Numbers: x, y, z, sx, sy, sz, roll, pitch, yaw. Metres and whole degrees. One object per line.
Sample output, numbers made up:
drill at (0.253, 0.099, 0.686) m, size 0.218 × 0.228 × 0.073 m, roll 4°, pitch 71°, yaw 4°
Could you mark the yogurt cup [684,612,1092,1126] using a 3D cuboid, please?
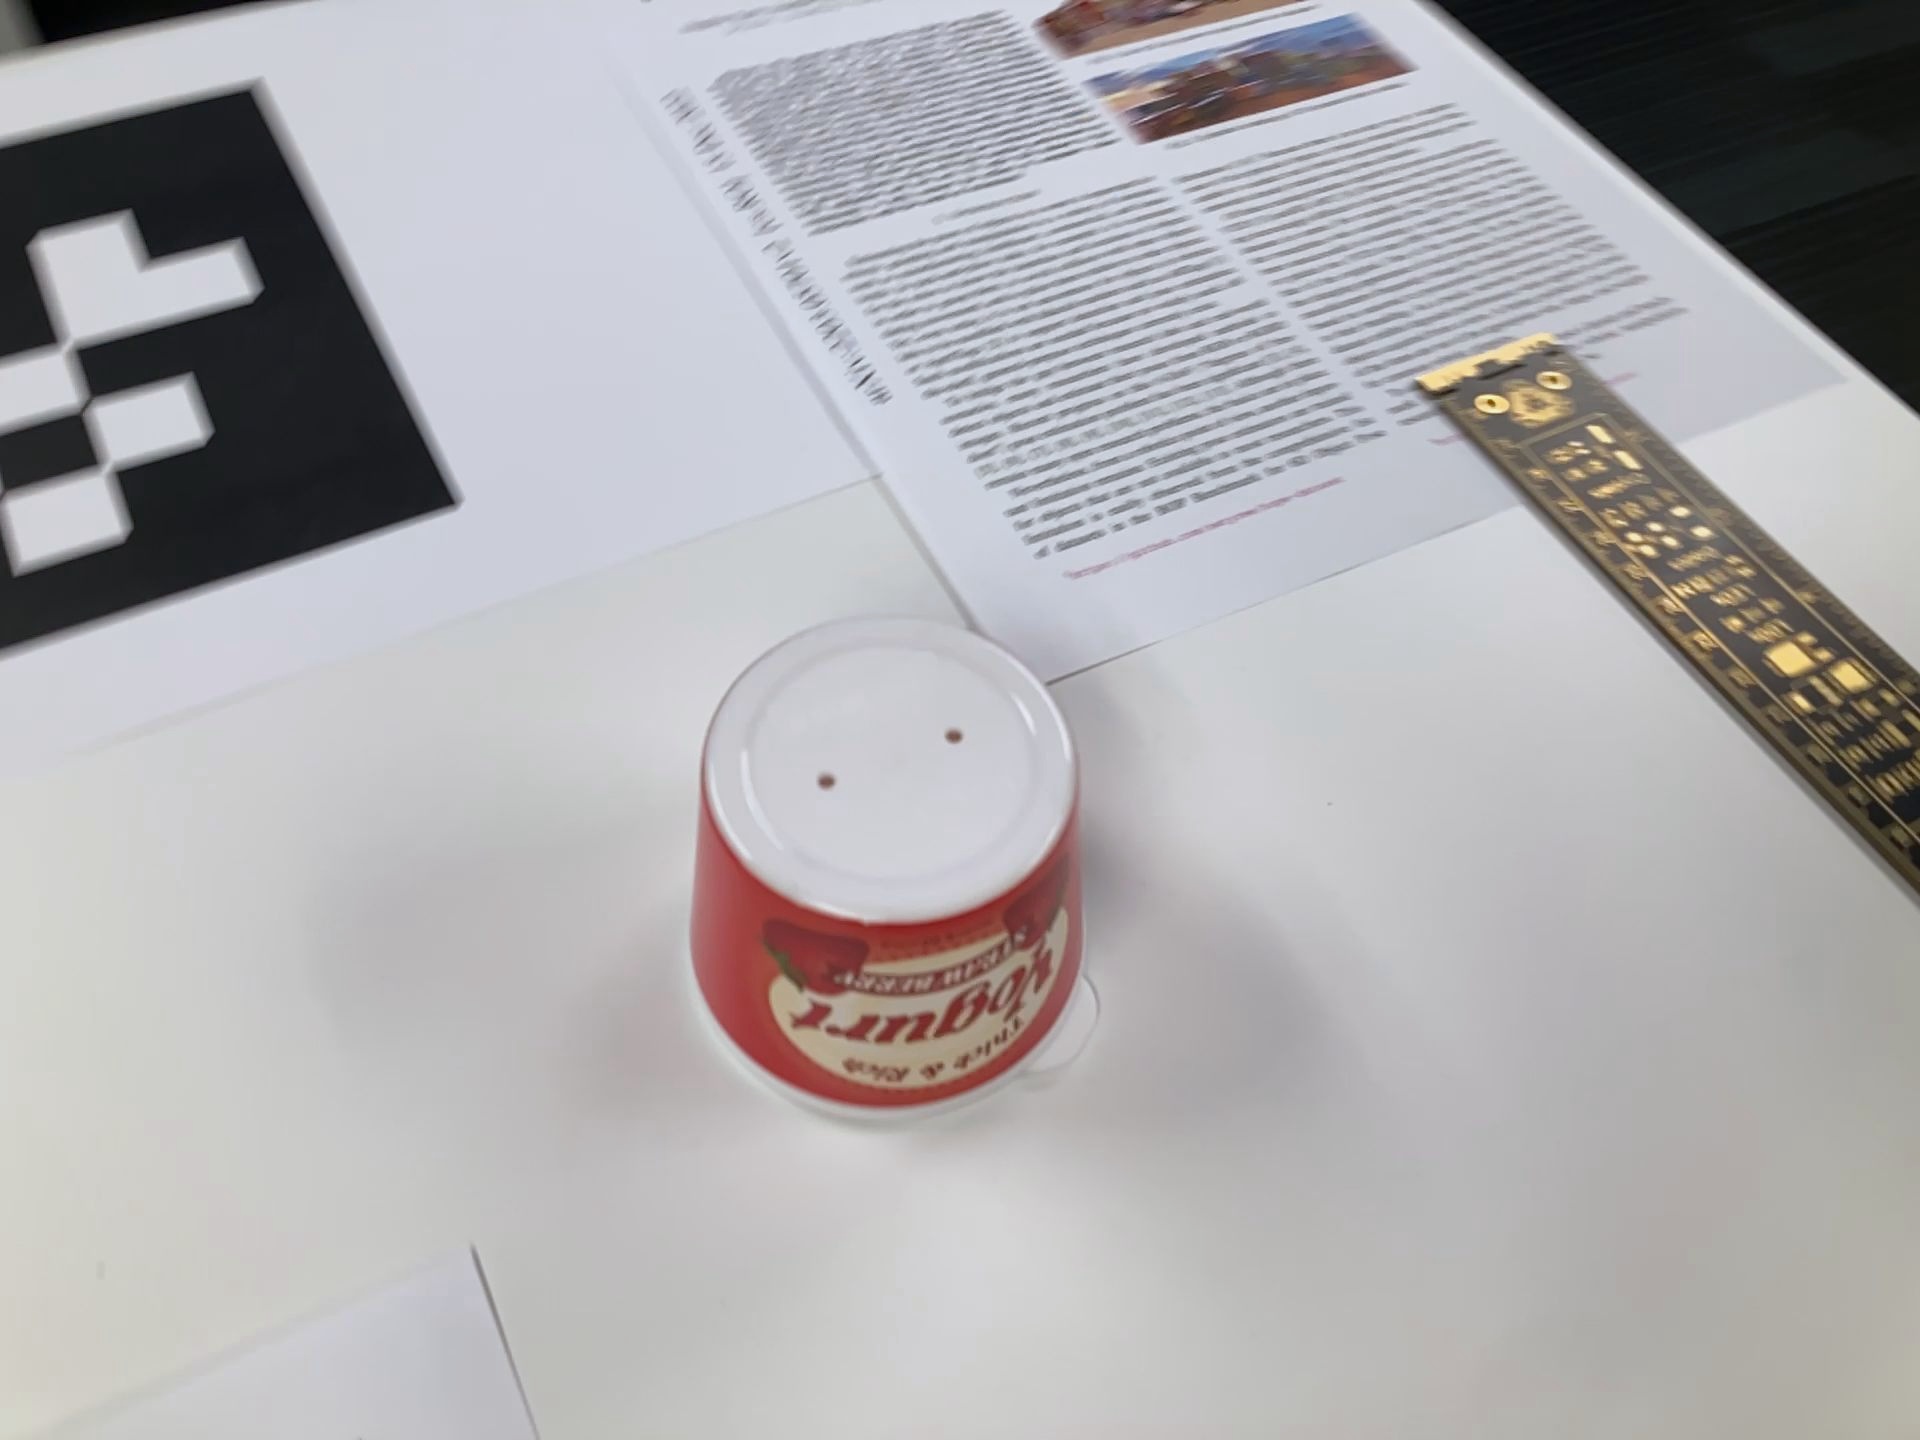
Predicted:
yogurt cup at (-0.011, 0.020, 0.247) m, size 0.072 × 0.054 × 0.072 m, roll 1°, pitch 54°, yaw -2°
